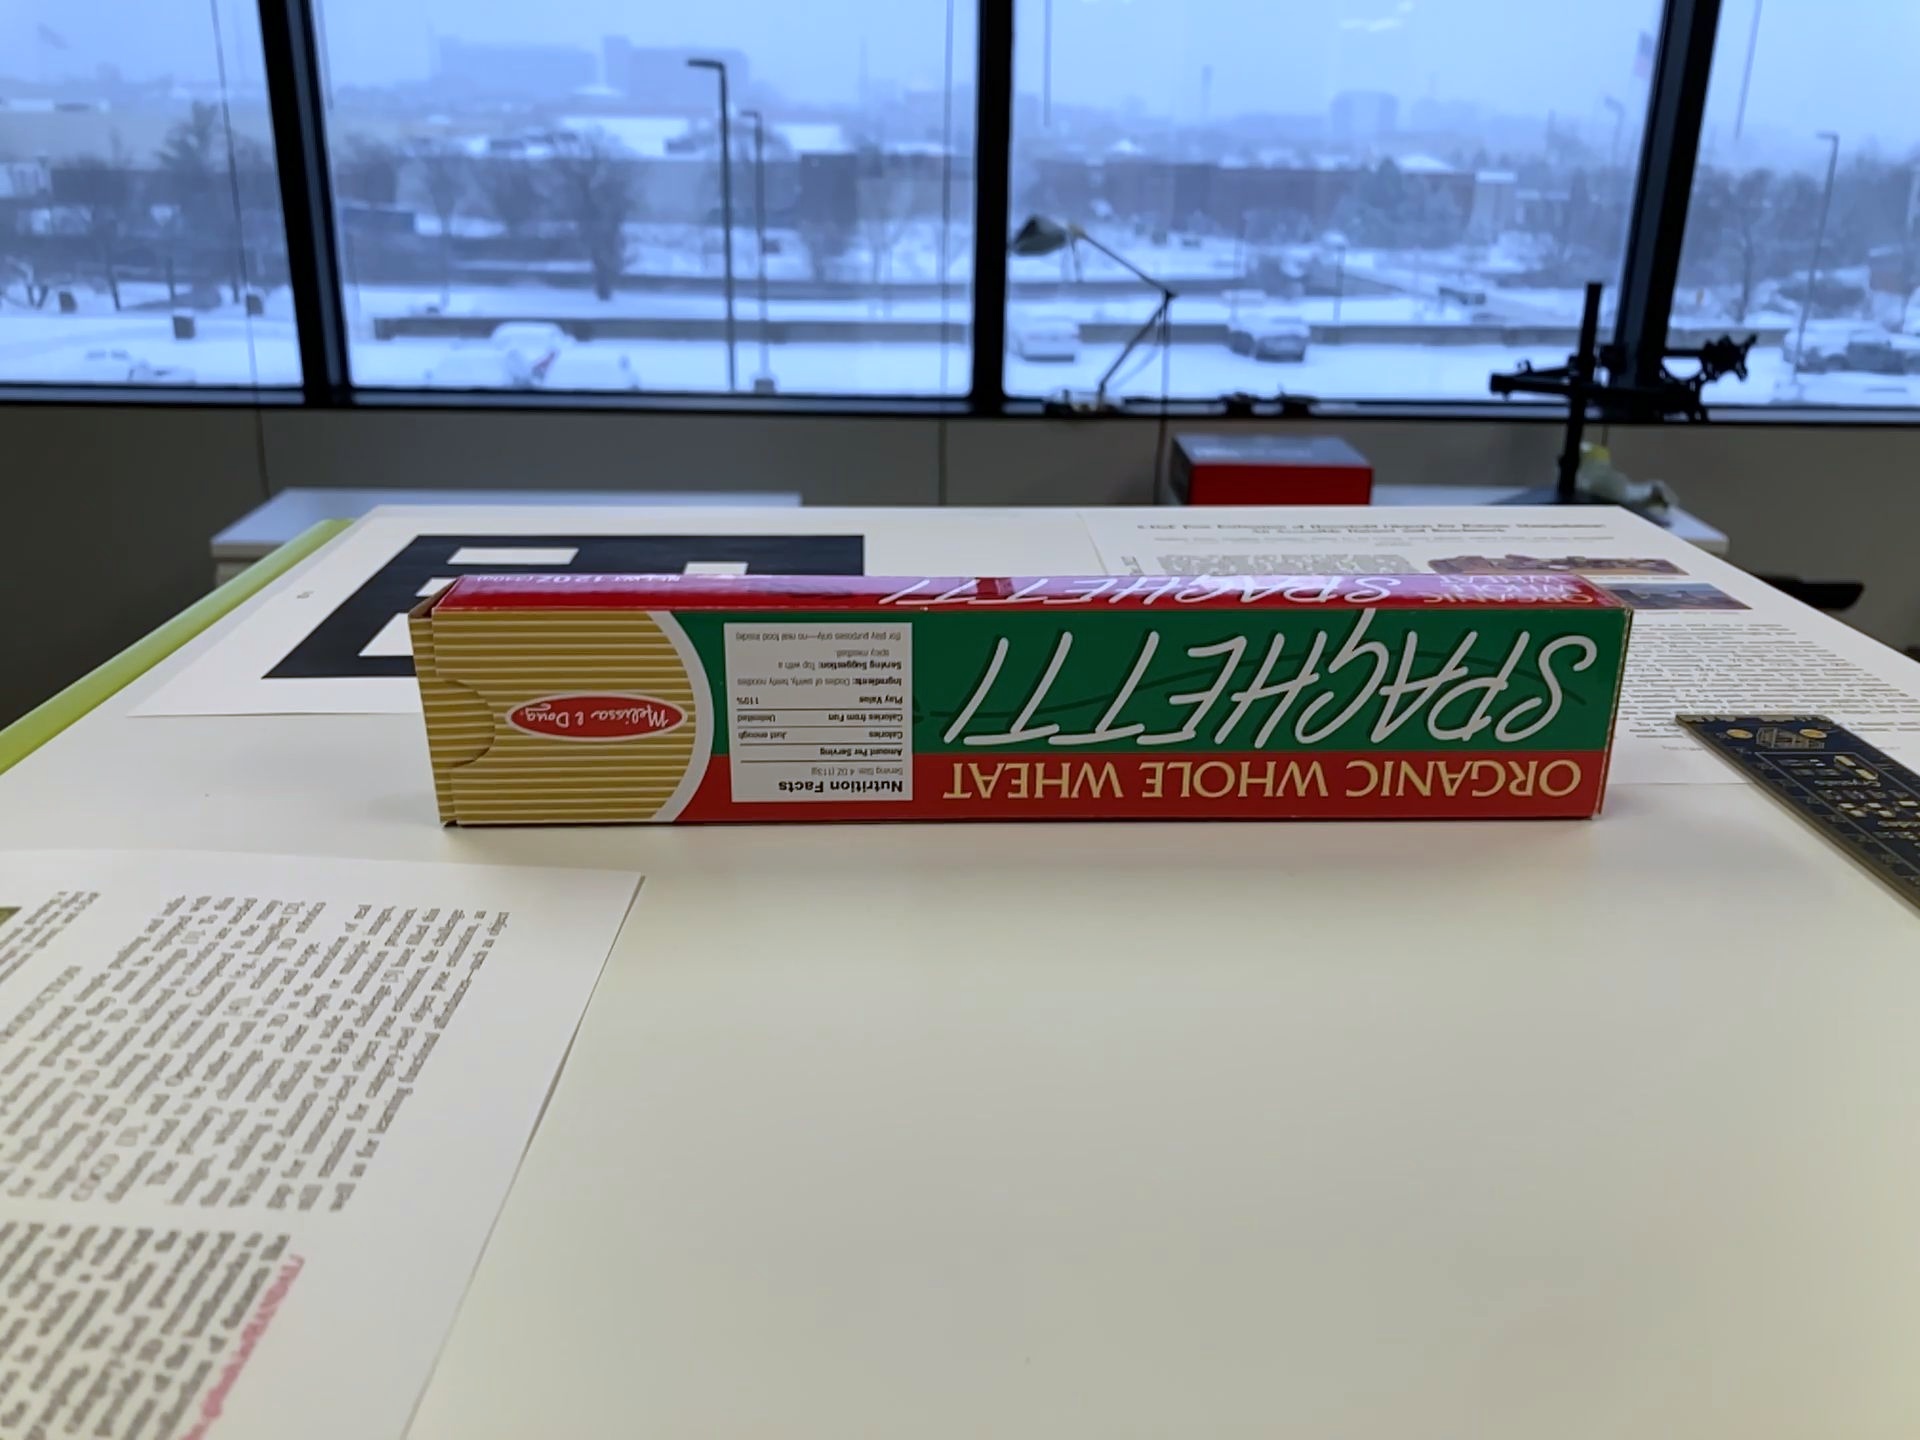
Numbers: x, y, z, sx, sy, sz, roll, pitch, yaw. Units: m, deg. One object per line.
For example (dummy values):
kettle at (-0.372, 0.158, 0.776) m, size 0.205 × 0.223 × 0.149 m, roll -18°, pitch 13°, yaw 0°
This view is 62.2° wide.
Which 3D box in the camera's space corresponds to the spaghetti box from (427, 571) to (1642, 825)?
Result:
spaghetti box at (0.016, -0.005, 0.344) m, size 0.250 × 0.050 × 0.028 m, roll 0°, pitch 21°, yaw -3°
